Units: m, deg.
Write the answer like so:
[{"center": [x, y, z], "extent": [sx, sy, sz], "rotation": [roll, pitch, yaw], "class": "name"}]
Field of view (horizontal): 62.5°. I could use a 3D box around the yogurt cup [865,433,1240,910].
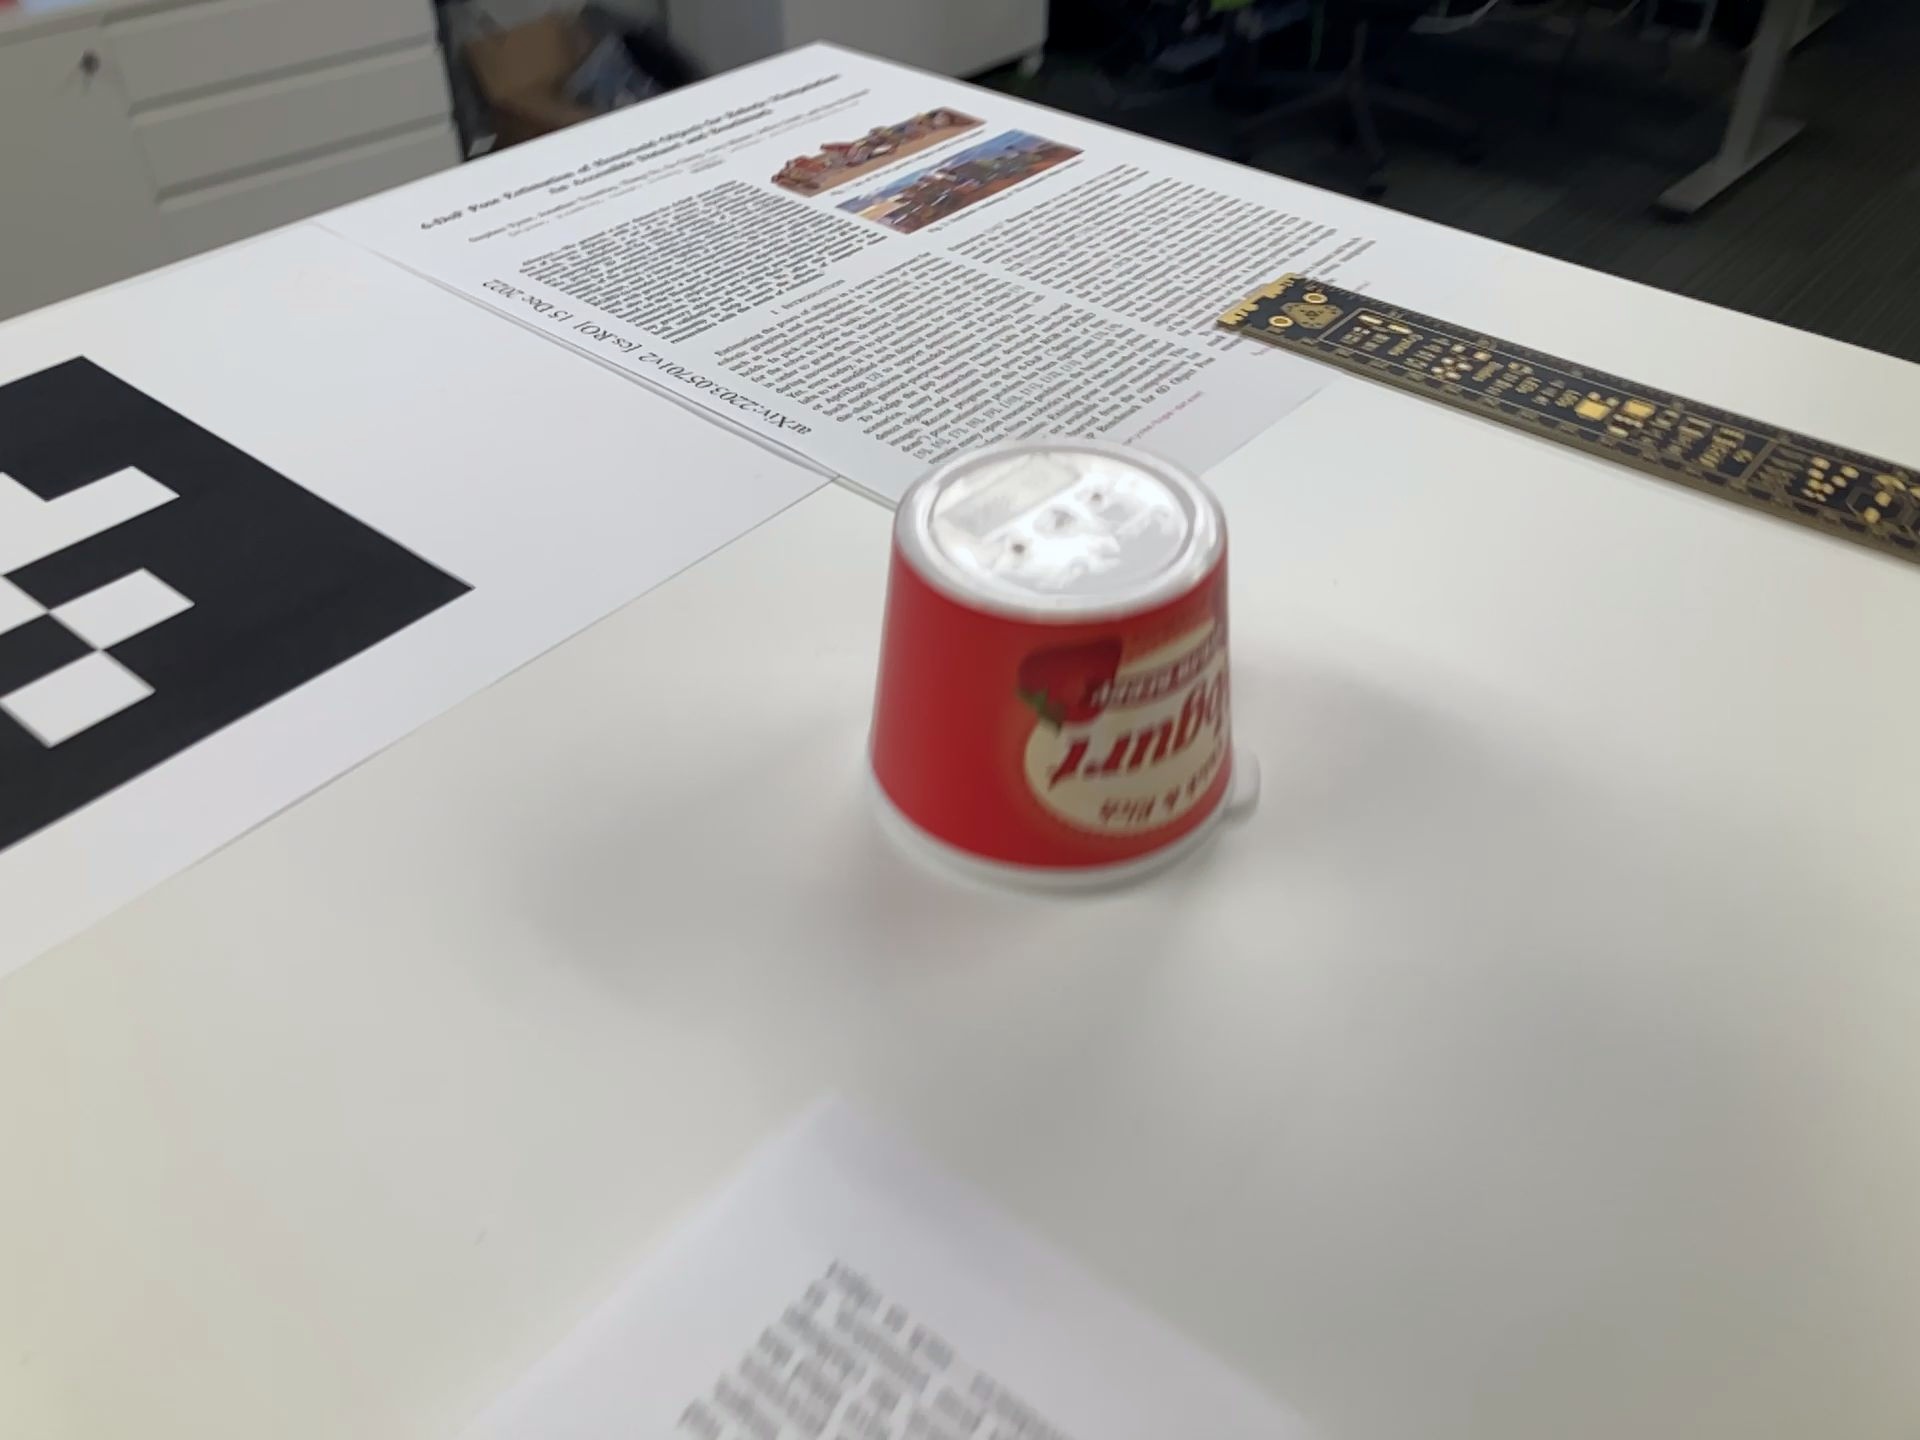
[{"center": [0.016, -0.013, 0.274], "extent": [0.072, 0.054, 0.072], "rotation": [-1, 41, 0], "class": "yogurt cup"}]
